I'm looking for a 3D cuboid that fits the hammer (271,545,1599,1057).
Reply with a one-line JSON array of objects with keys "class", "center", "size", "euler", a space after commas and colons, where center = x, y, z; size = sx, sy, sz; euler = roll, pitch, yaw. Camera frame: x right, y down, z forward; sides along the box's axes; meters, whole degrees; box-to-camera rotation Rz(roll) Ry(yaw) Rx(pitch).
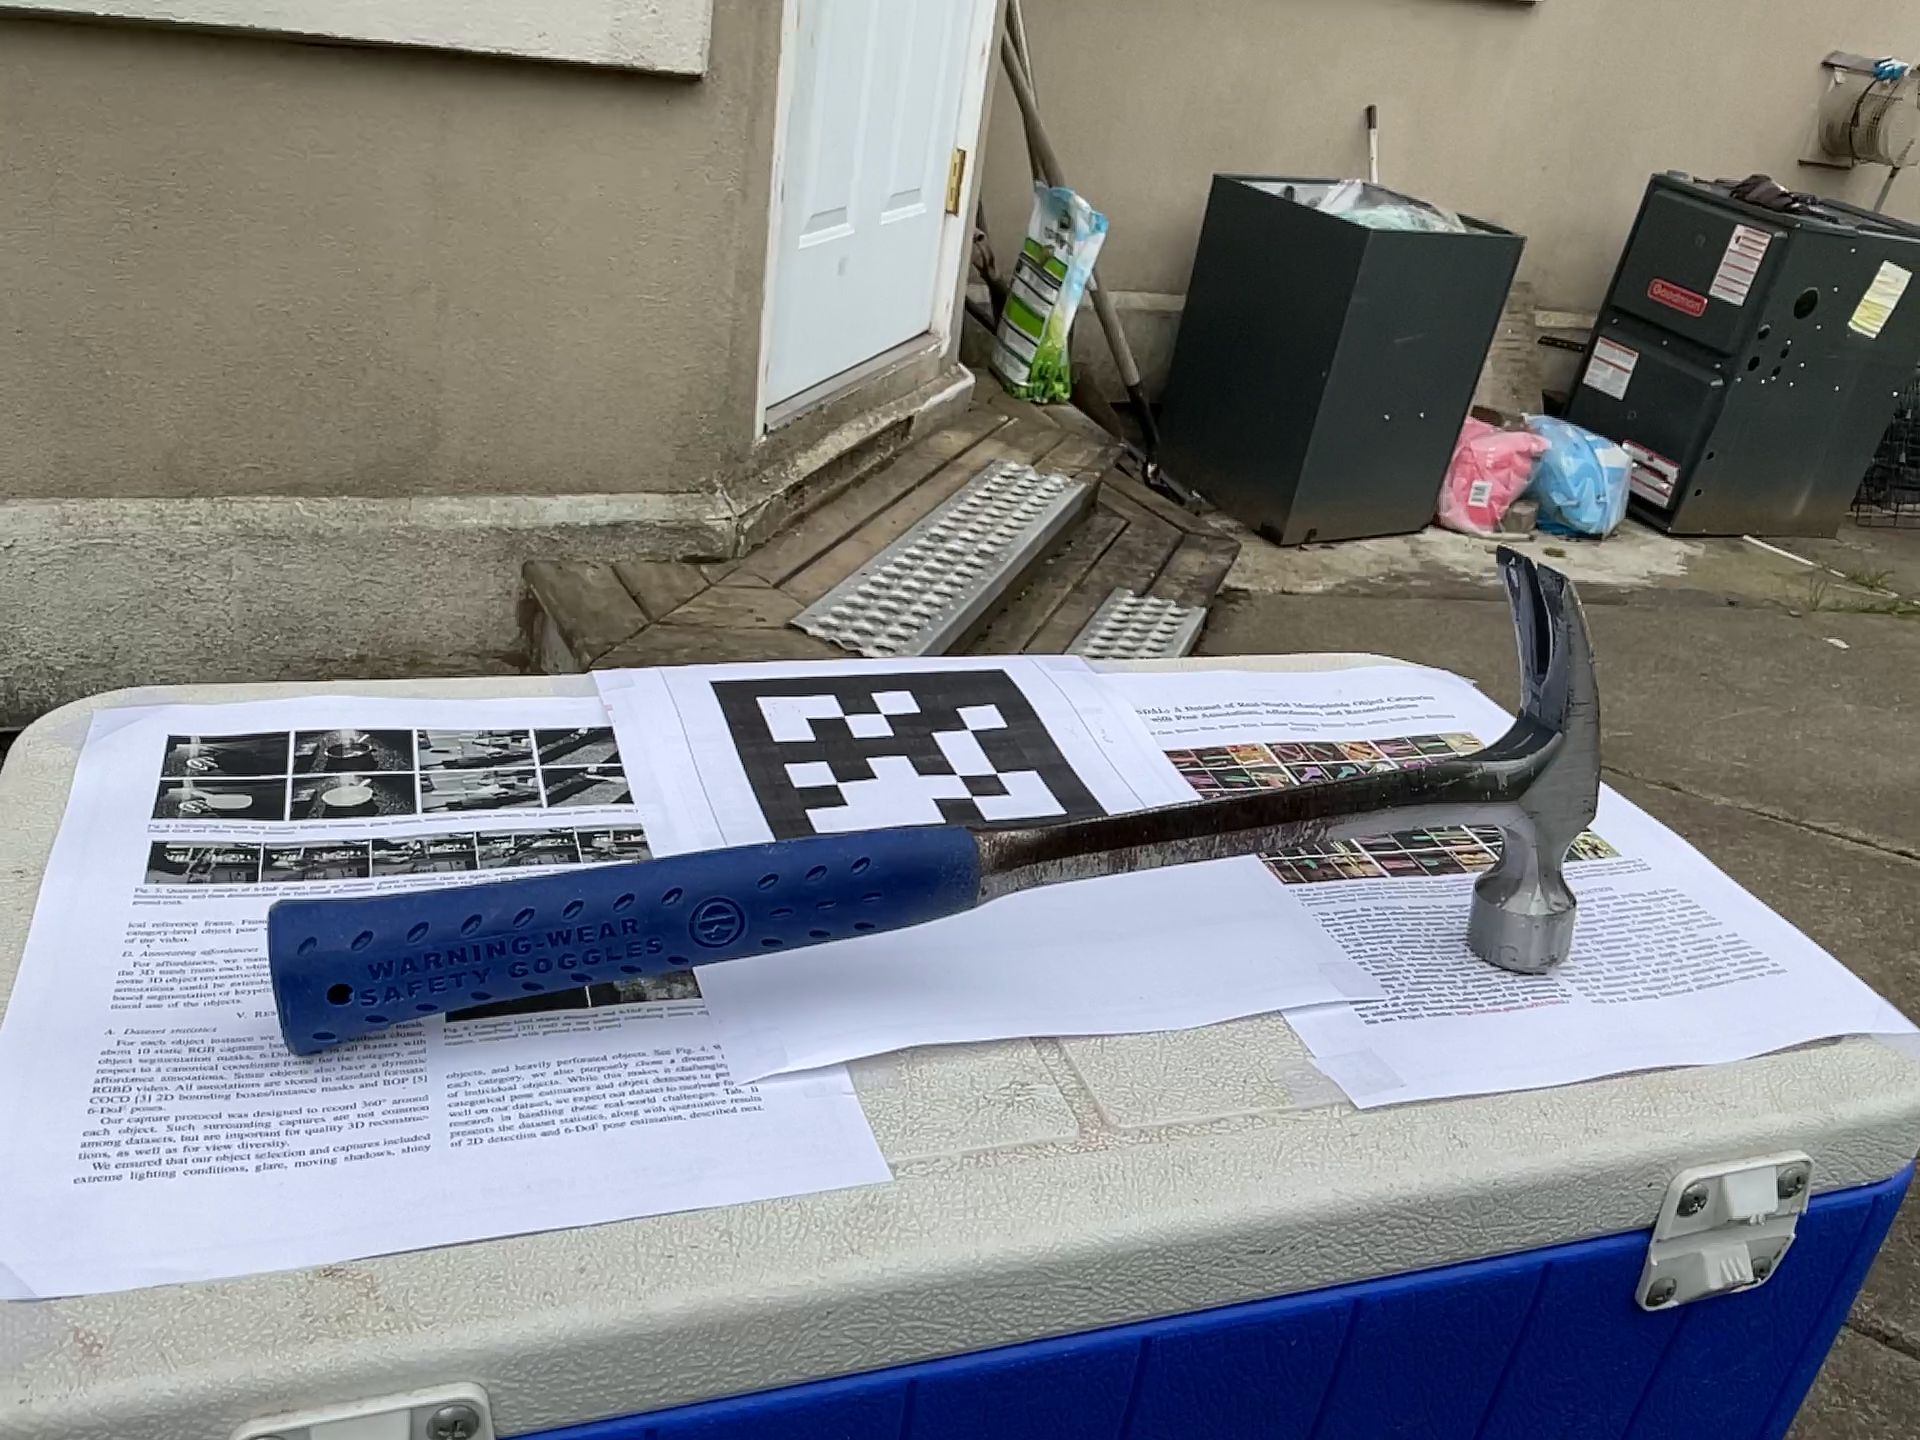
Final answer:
[{"class": "hammer", "center": [0.013, 0.037, 0.476], "size": [0.405, 0.144, 0.035], "euler": [-7, 23, -15]}]
